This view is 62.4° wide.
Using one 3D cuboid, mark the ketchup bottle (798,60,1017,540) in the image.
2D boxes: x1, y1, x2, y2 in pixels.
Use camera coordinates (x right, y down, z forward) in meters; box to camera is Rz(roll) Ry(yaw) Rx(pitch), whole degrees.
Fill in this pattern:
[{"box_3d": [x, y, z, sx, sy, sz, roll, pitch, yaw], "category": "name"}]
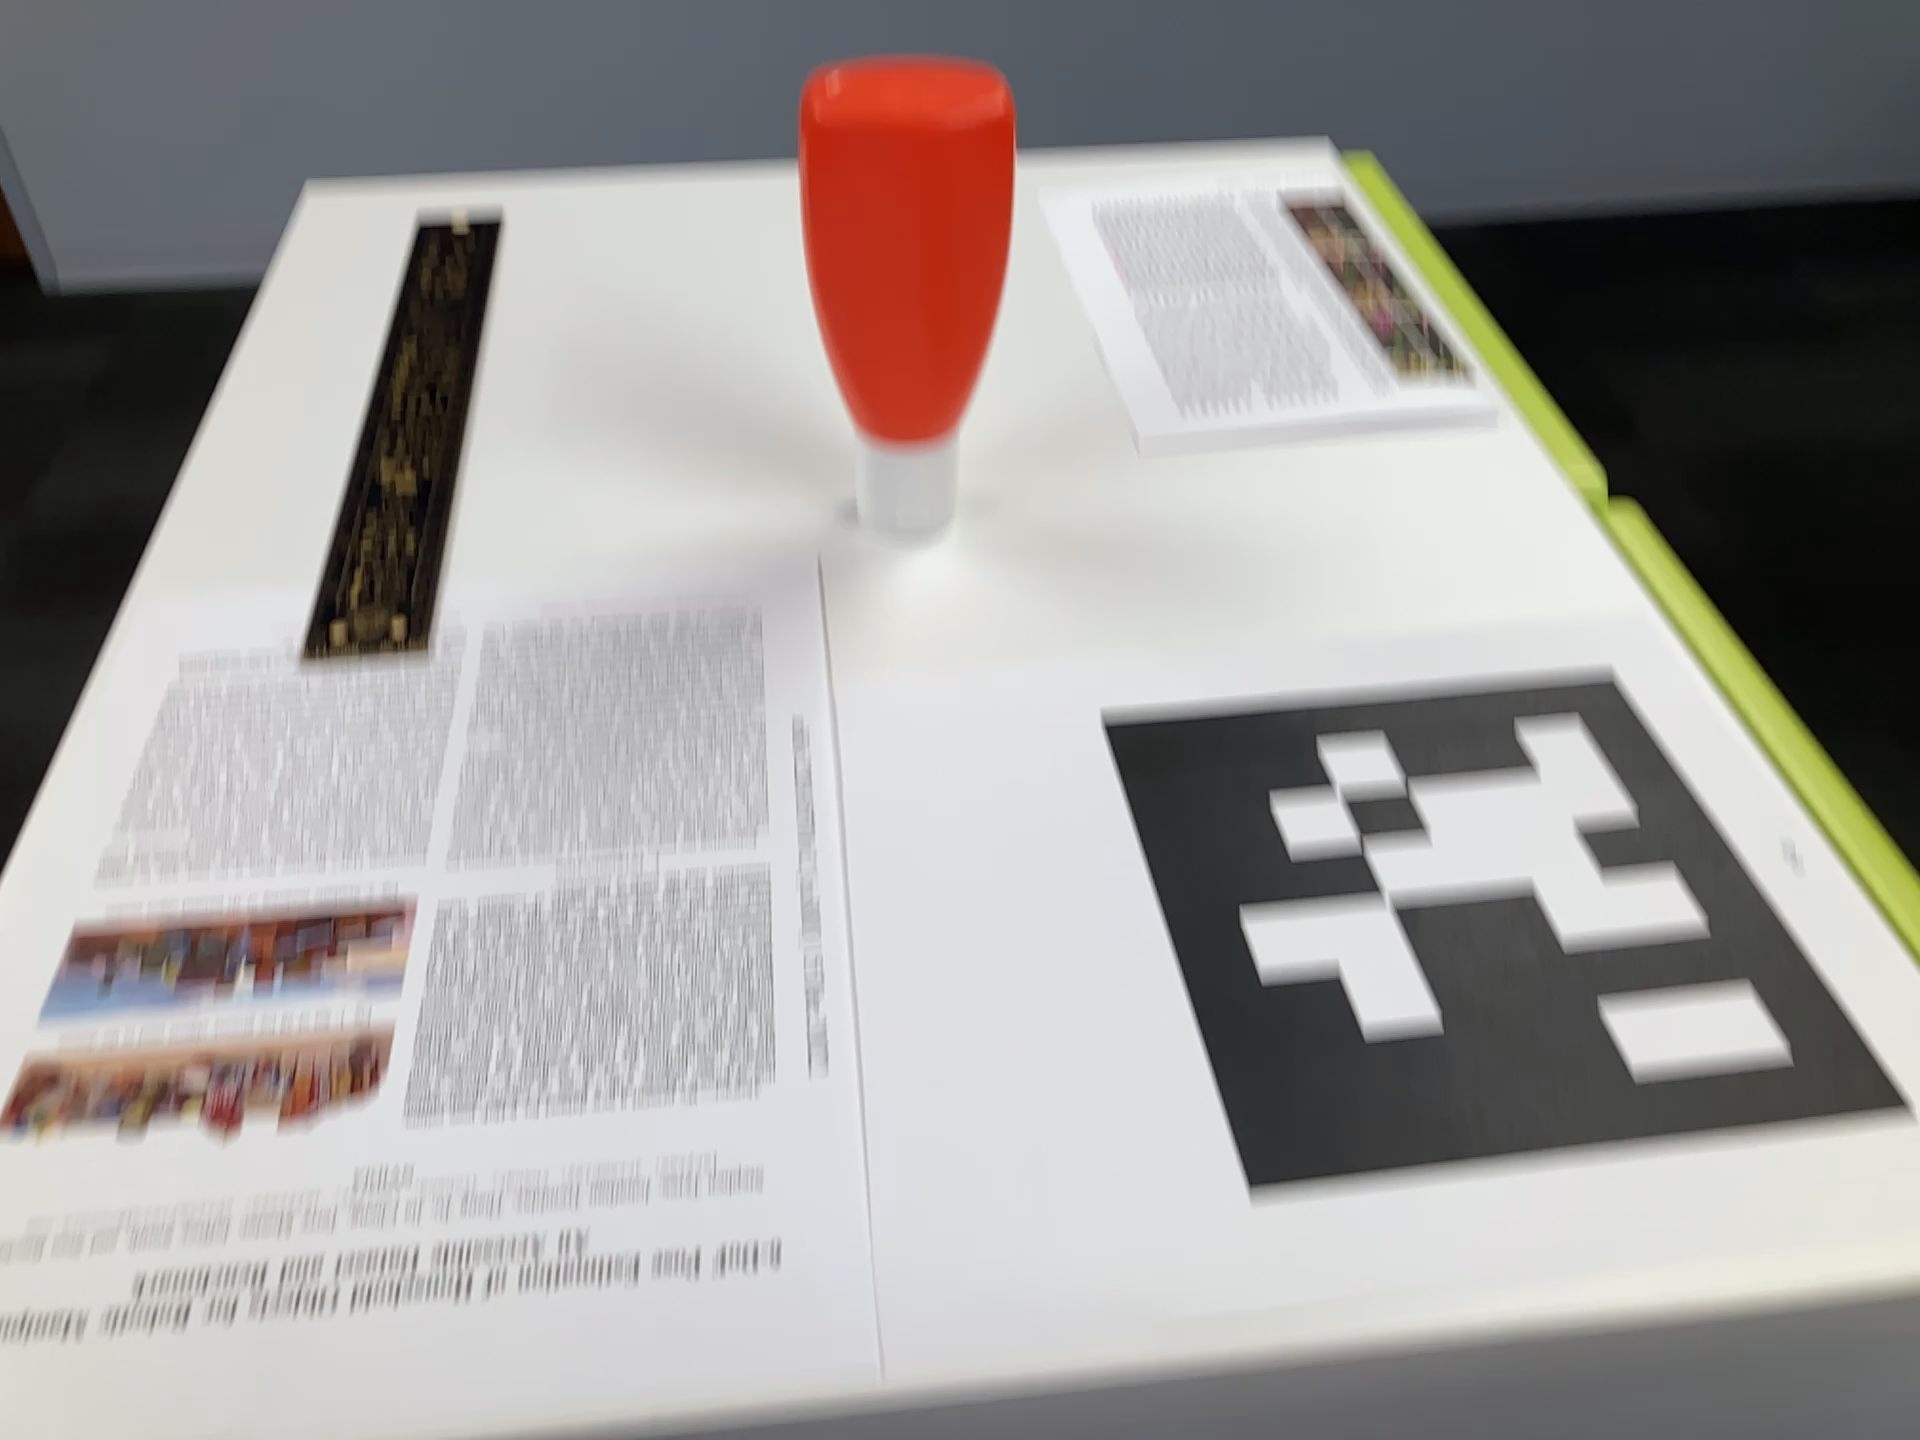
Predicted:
[{"box_3d": [-0.017, -0.128, 0.503, 0.065, 0.149, 0.043, -3, 42, -6], "category": "ketchup bottle"}]
